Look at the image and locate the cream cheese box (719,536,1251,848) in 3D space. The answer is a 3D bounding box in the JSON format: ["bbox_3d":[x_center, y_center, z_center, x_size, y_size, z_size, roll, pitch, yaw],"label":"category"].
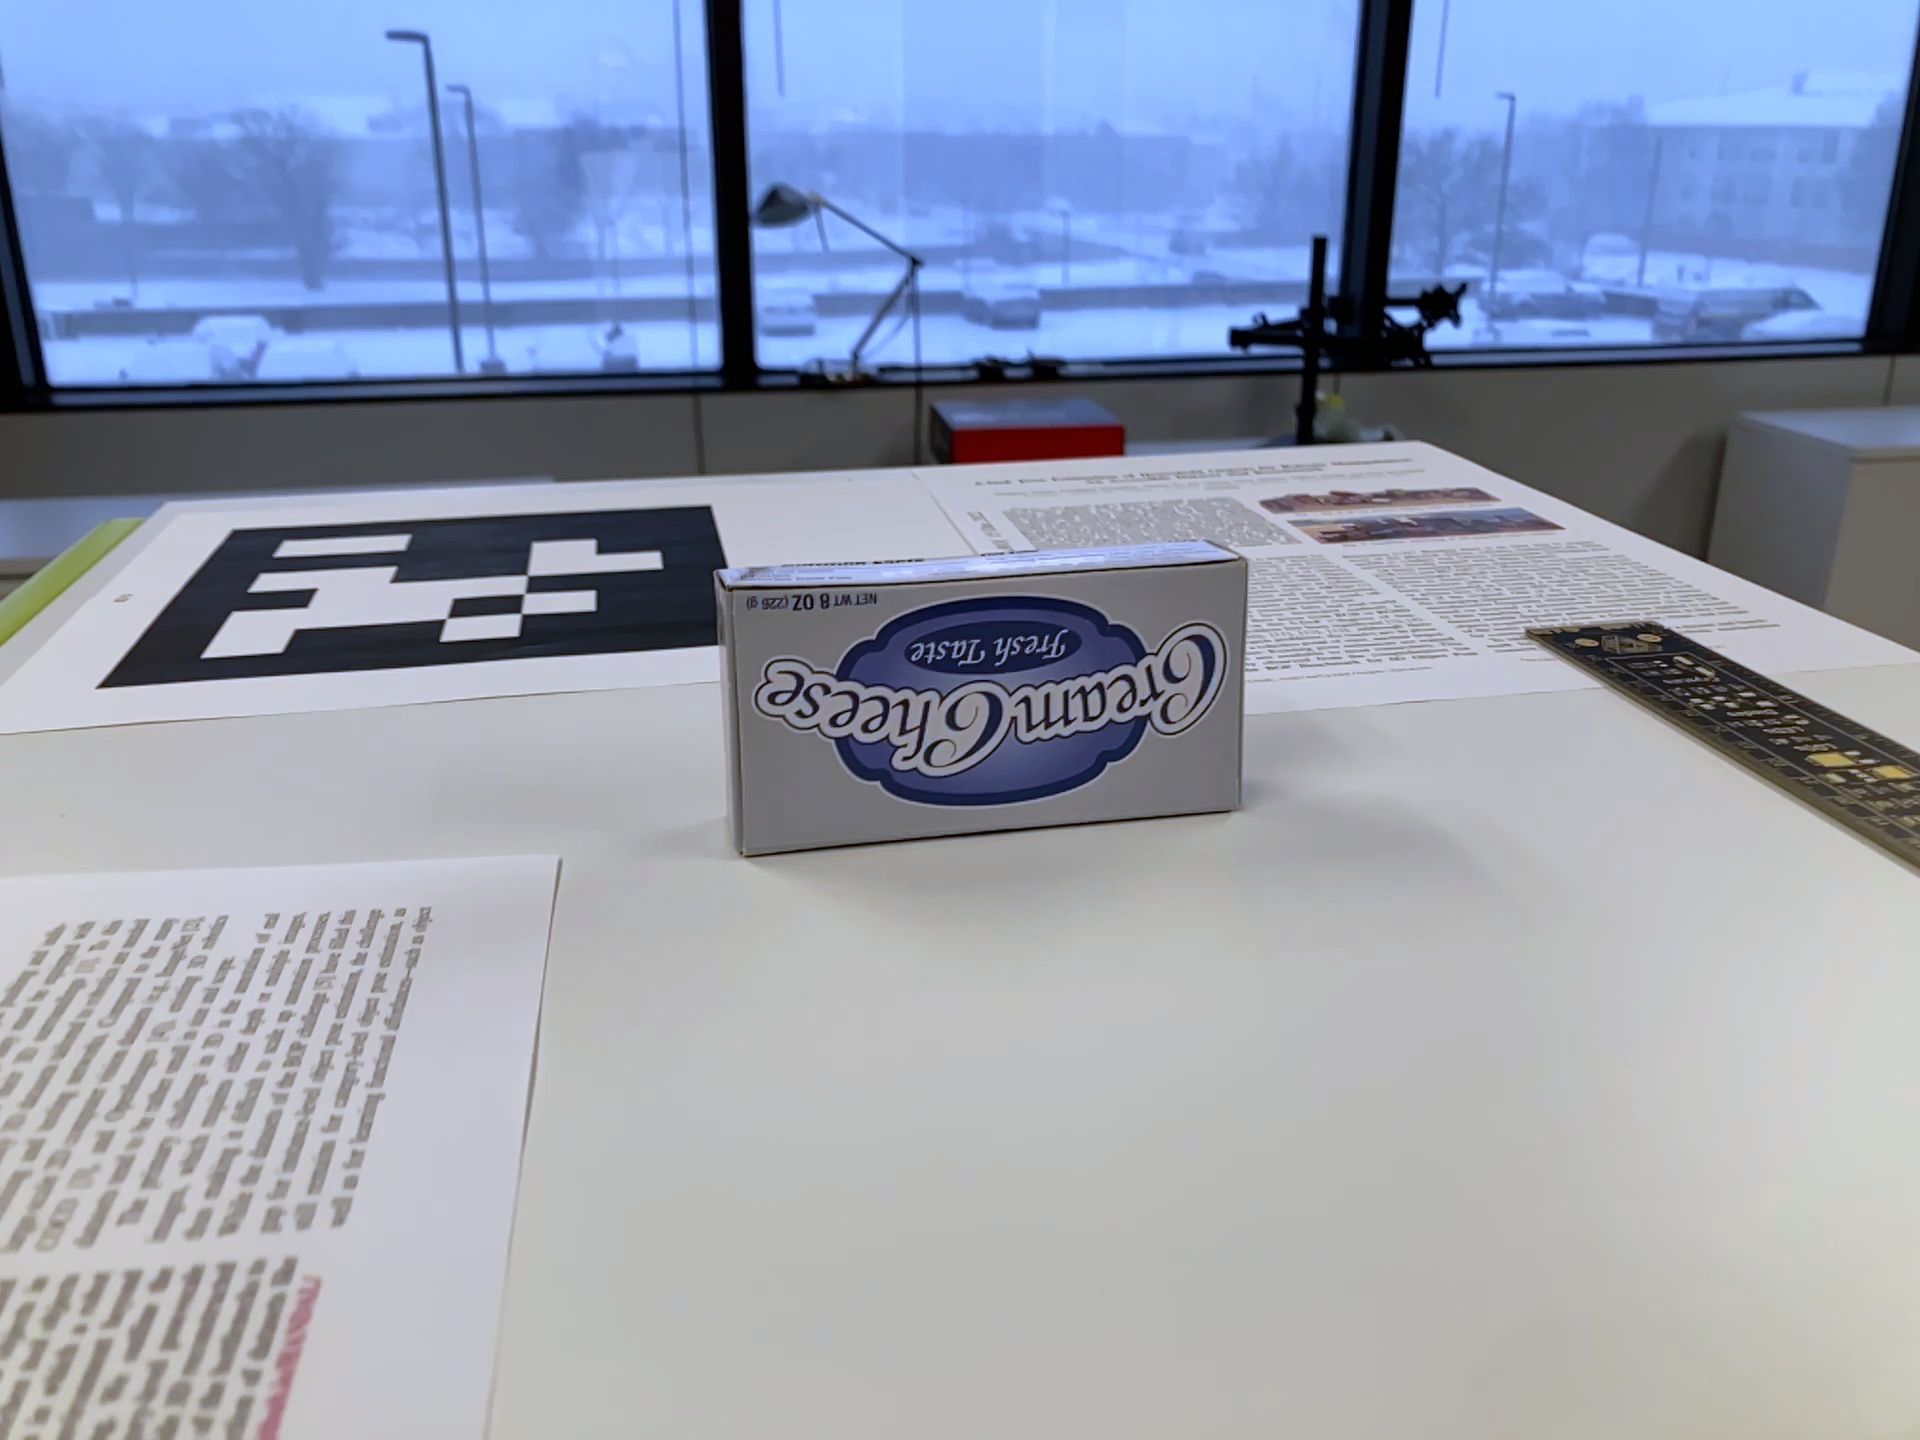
[{"bbox_3d":[0.005,-0.007,0.317,0.104,0.053,0.024,-4,18,-12],"label":"cream cheese box"}]
